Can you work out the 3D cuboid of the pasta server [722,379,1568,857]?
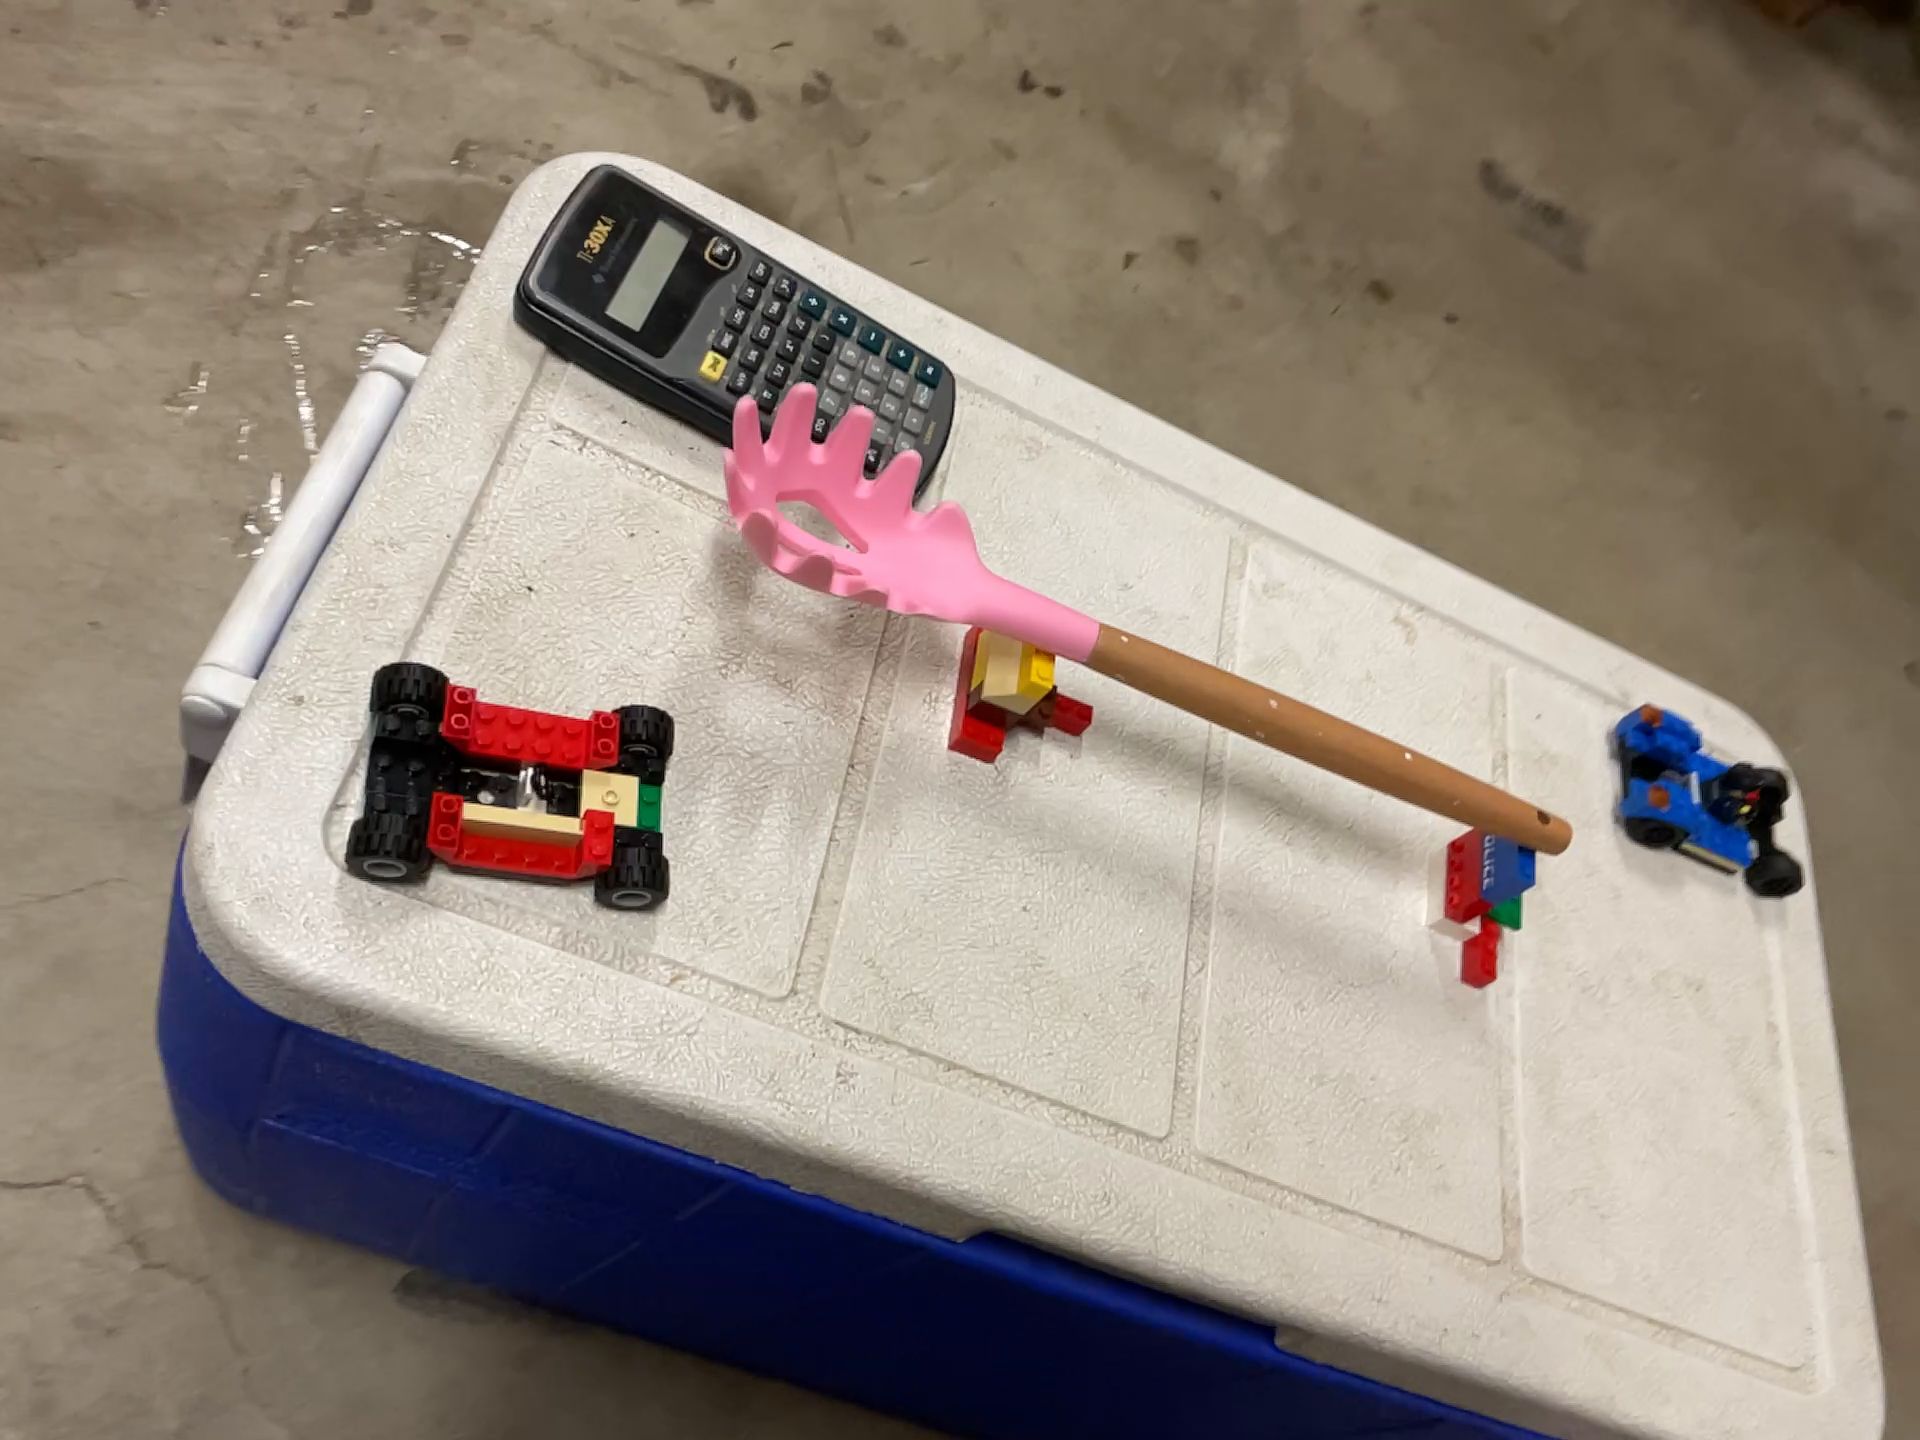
[{"bbox_3d":[0.069,-0.019,0.507,0.316,0.040,0.060,22,55,-15],"label":"pasta server"}]
